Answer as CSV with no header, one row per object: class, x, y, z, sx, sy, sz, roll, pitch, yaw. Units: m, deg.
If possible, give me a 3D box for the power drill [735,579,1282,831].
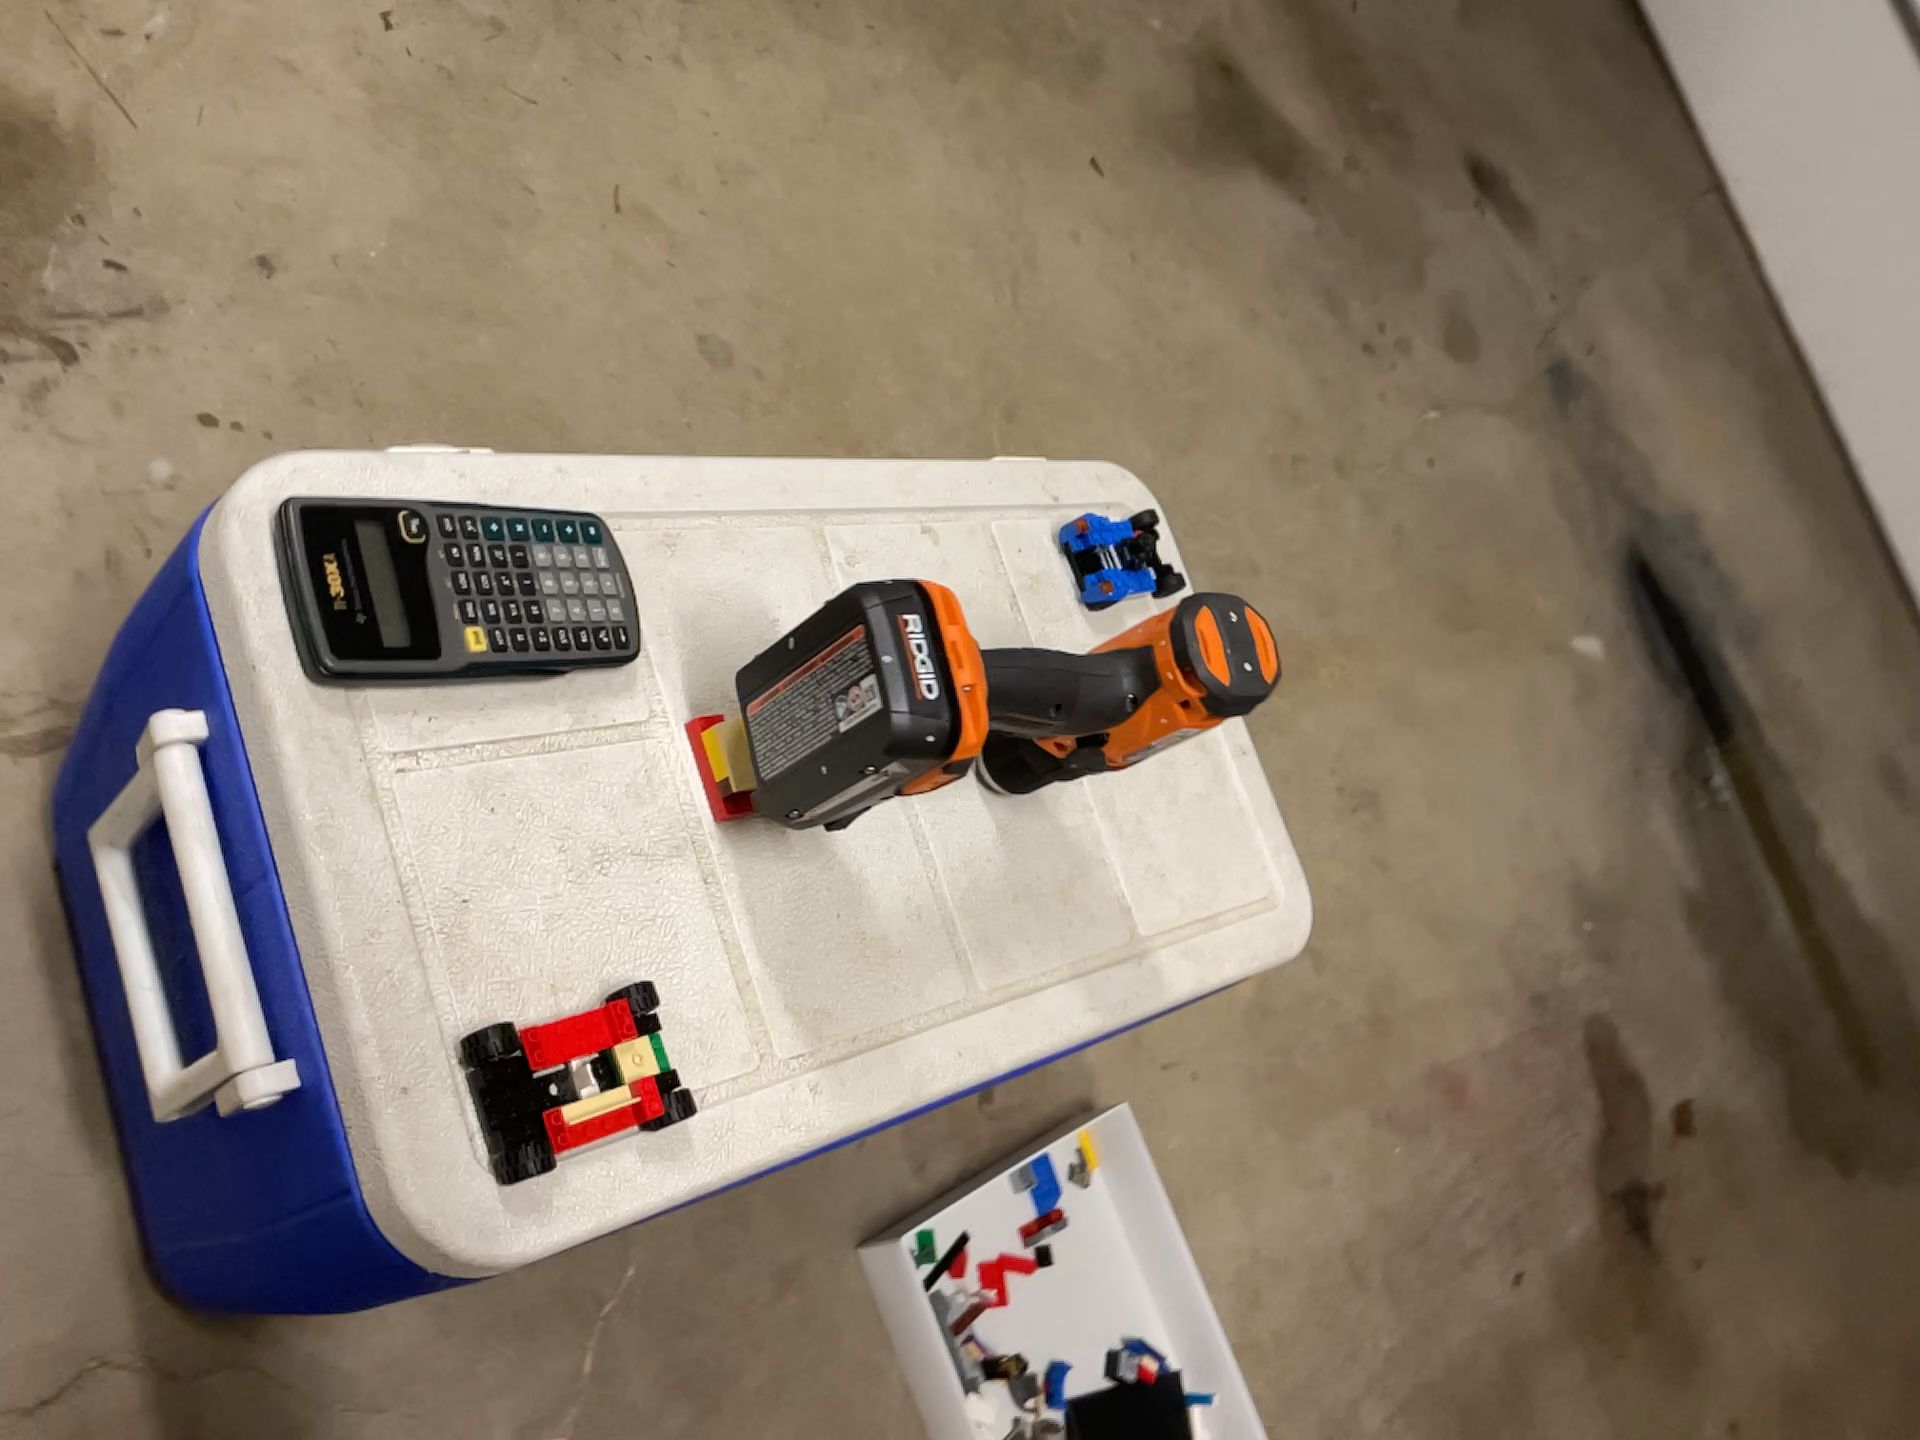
power drill,0.011,-0.001,0.738,0.226,0.185,0.084,-3,73,-39
